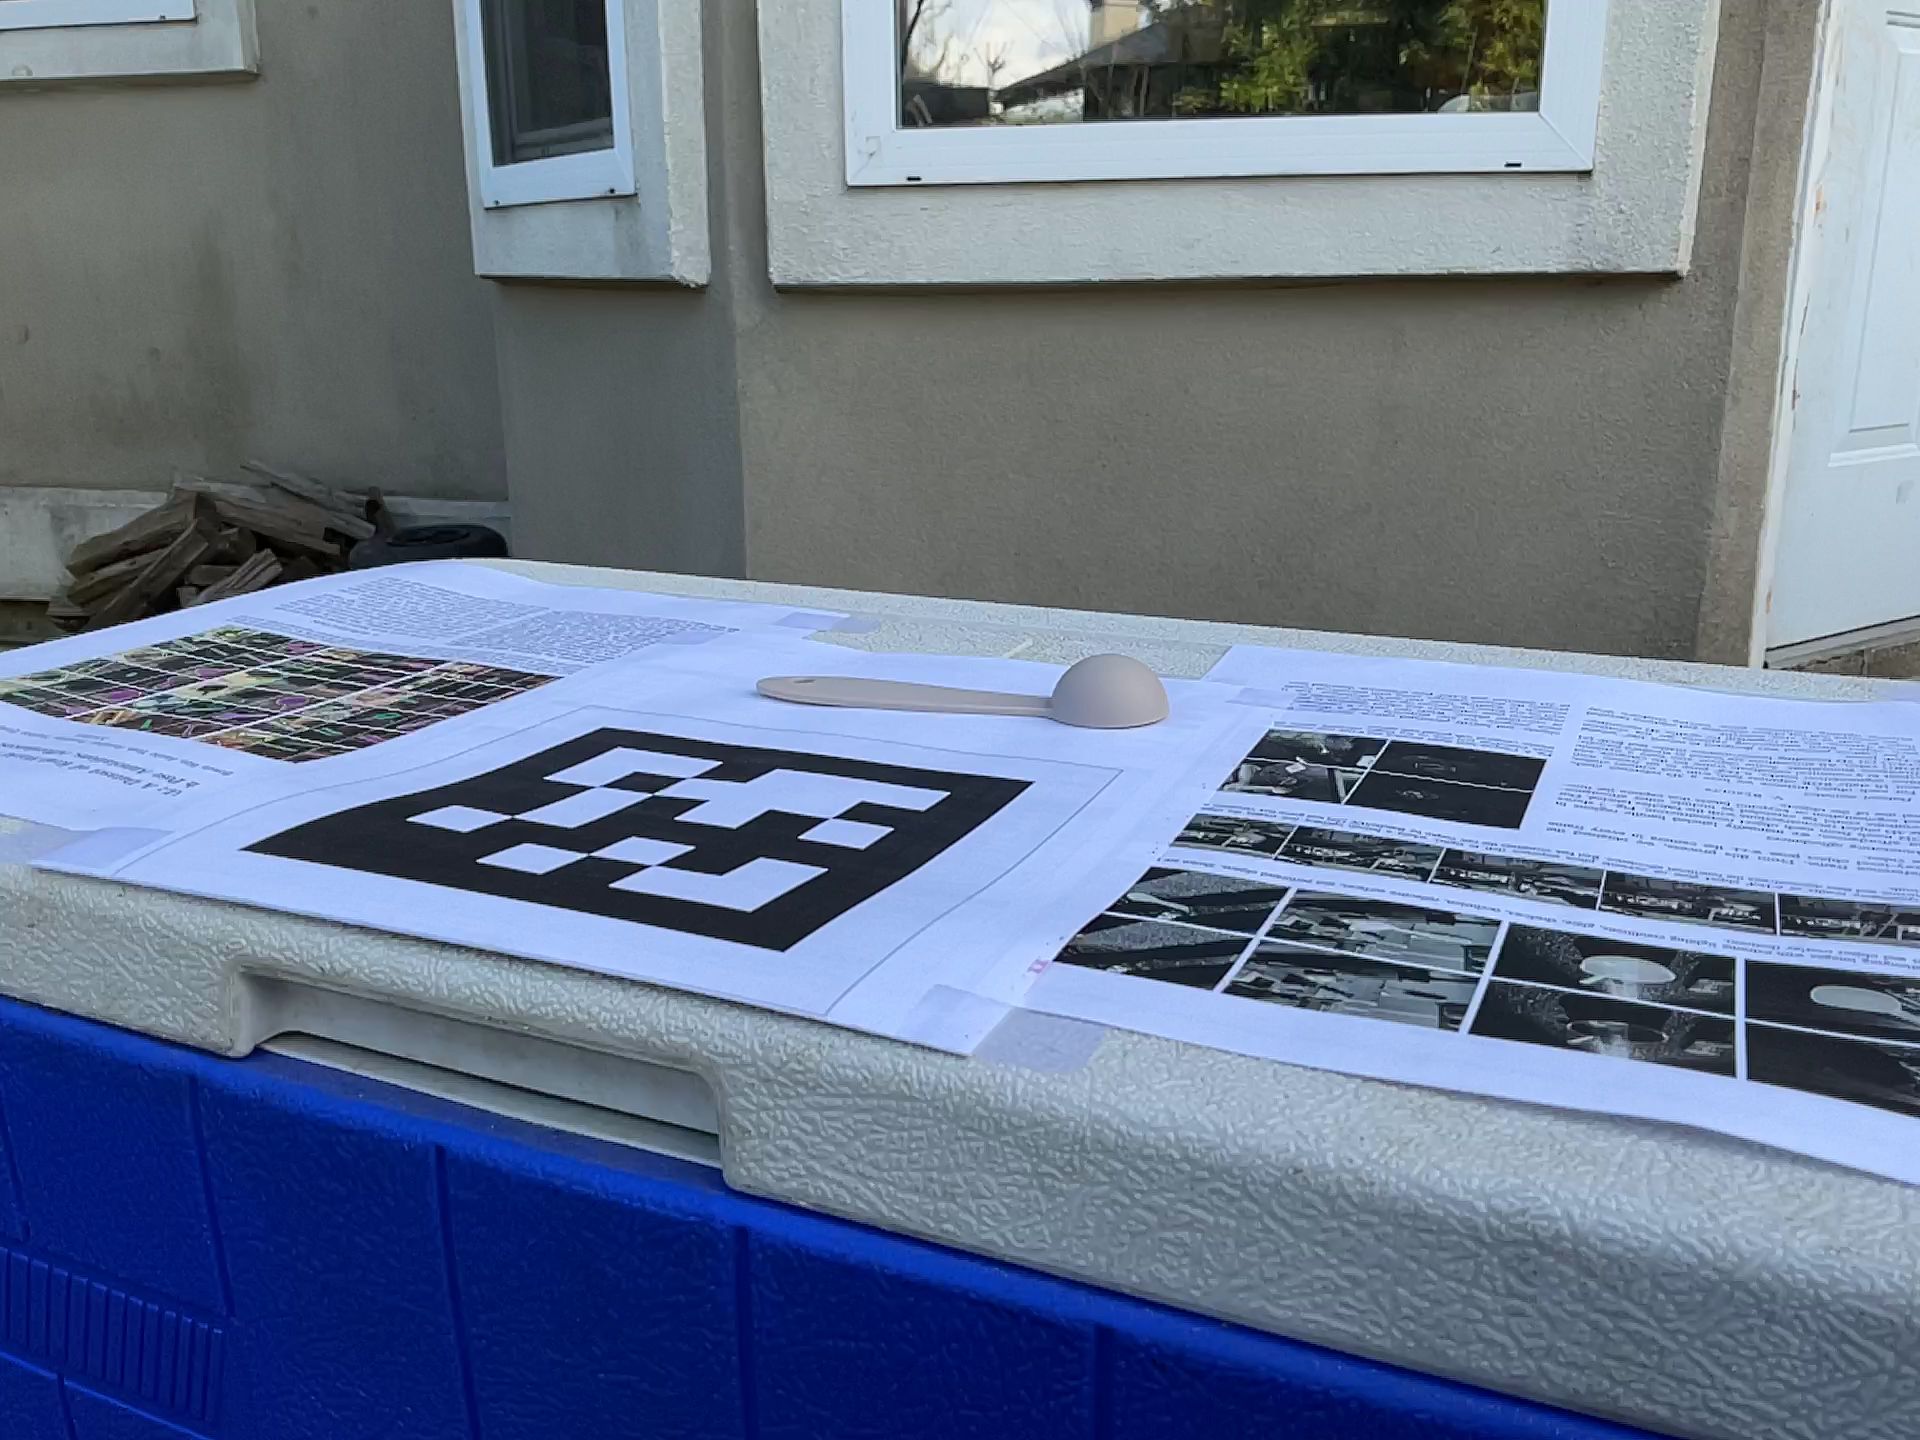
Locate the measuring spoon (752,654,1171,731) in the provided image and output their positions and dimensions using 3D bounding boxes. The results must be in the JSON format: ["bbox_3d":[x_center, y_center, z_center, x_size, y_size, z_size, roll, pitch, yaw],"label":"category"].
[{"bbox_3d":[-0.002,-0.012,0.459,0.124,0.018,0.034,4,17,14],"label":"measuring spoon"}]
